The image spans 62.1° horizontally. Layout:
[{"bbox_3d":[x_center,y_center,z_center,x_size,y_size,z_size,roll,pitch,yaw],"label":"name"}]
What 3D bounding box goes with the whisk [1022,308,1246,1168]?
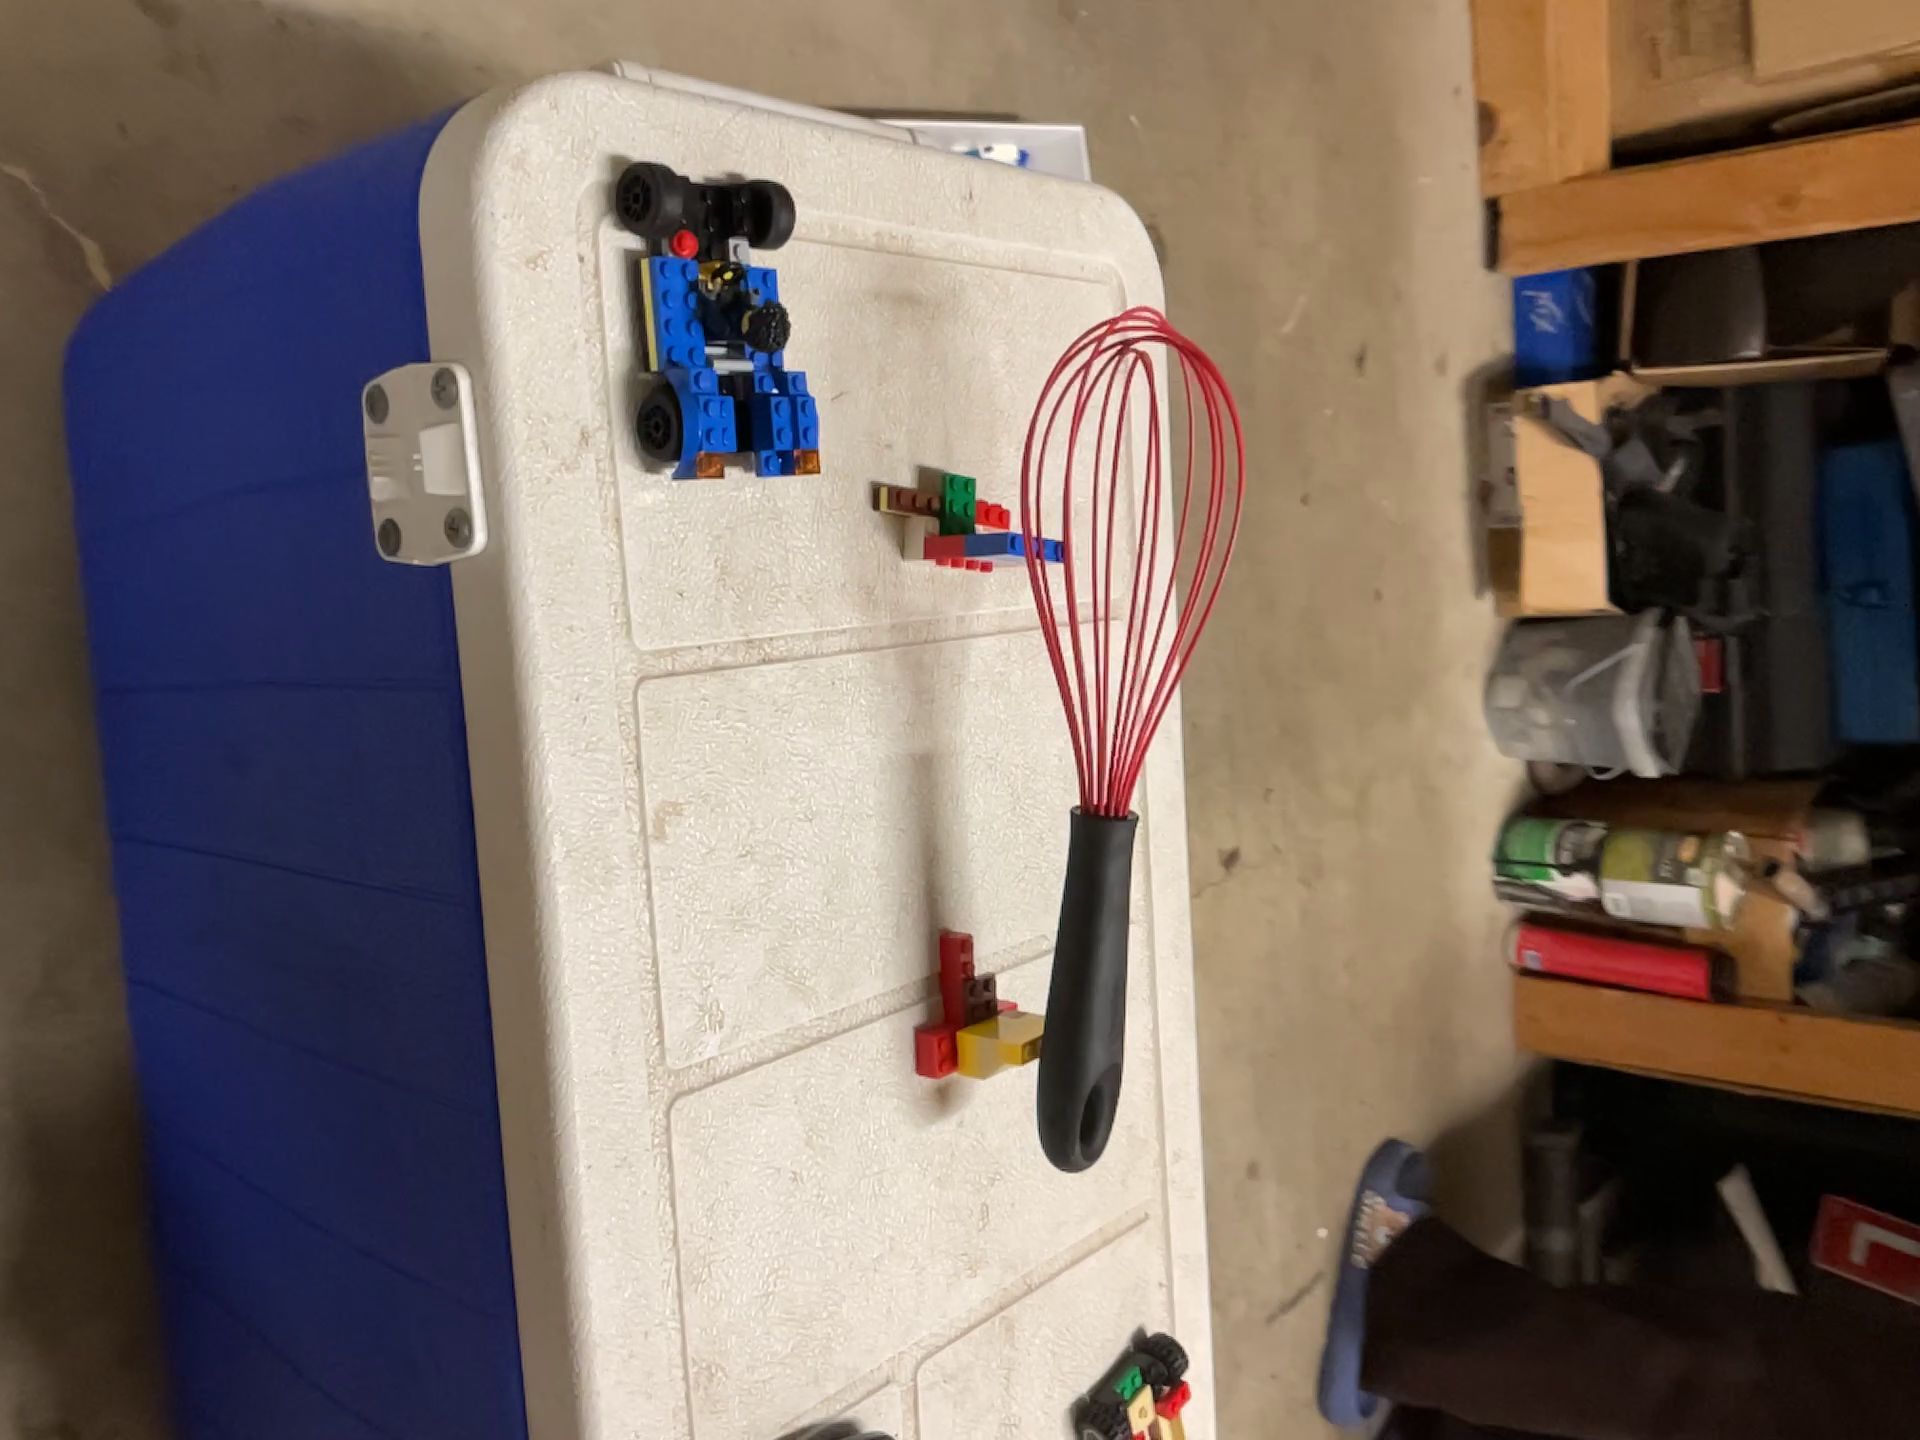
[{"bbox_3d":[0.050,0.012,0.540,0.073,0.073,0.295,-8,106,-52],"label":"whisk"}]
